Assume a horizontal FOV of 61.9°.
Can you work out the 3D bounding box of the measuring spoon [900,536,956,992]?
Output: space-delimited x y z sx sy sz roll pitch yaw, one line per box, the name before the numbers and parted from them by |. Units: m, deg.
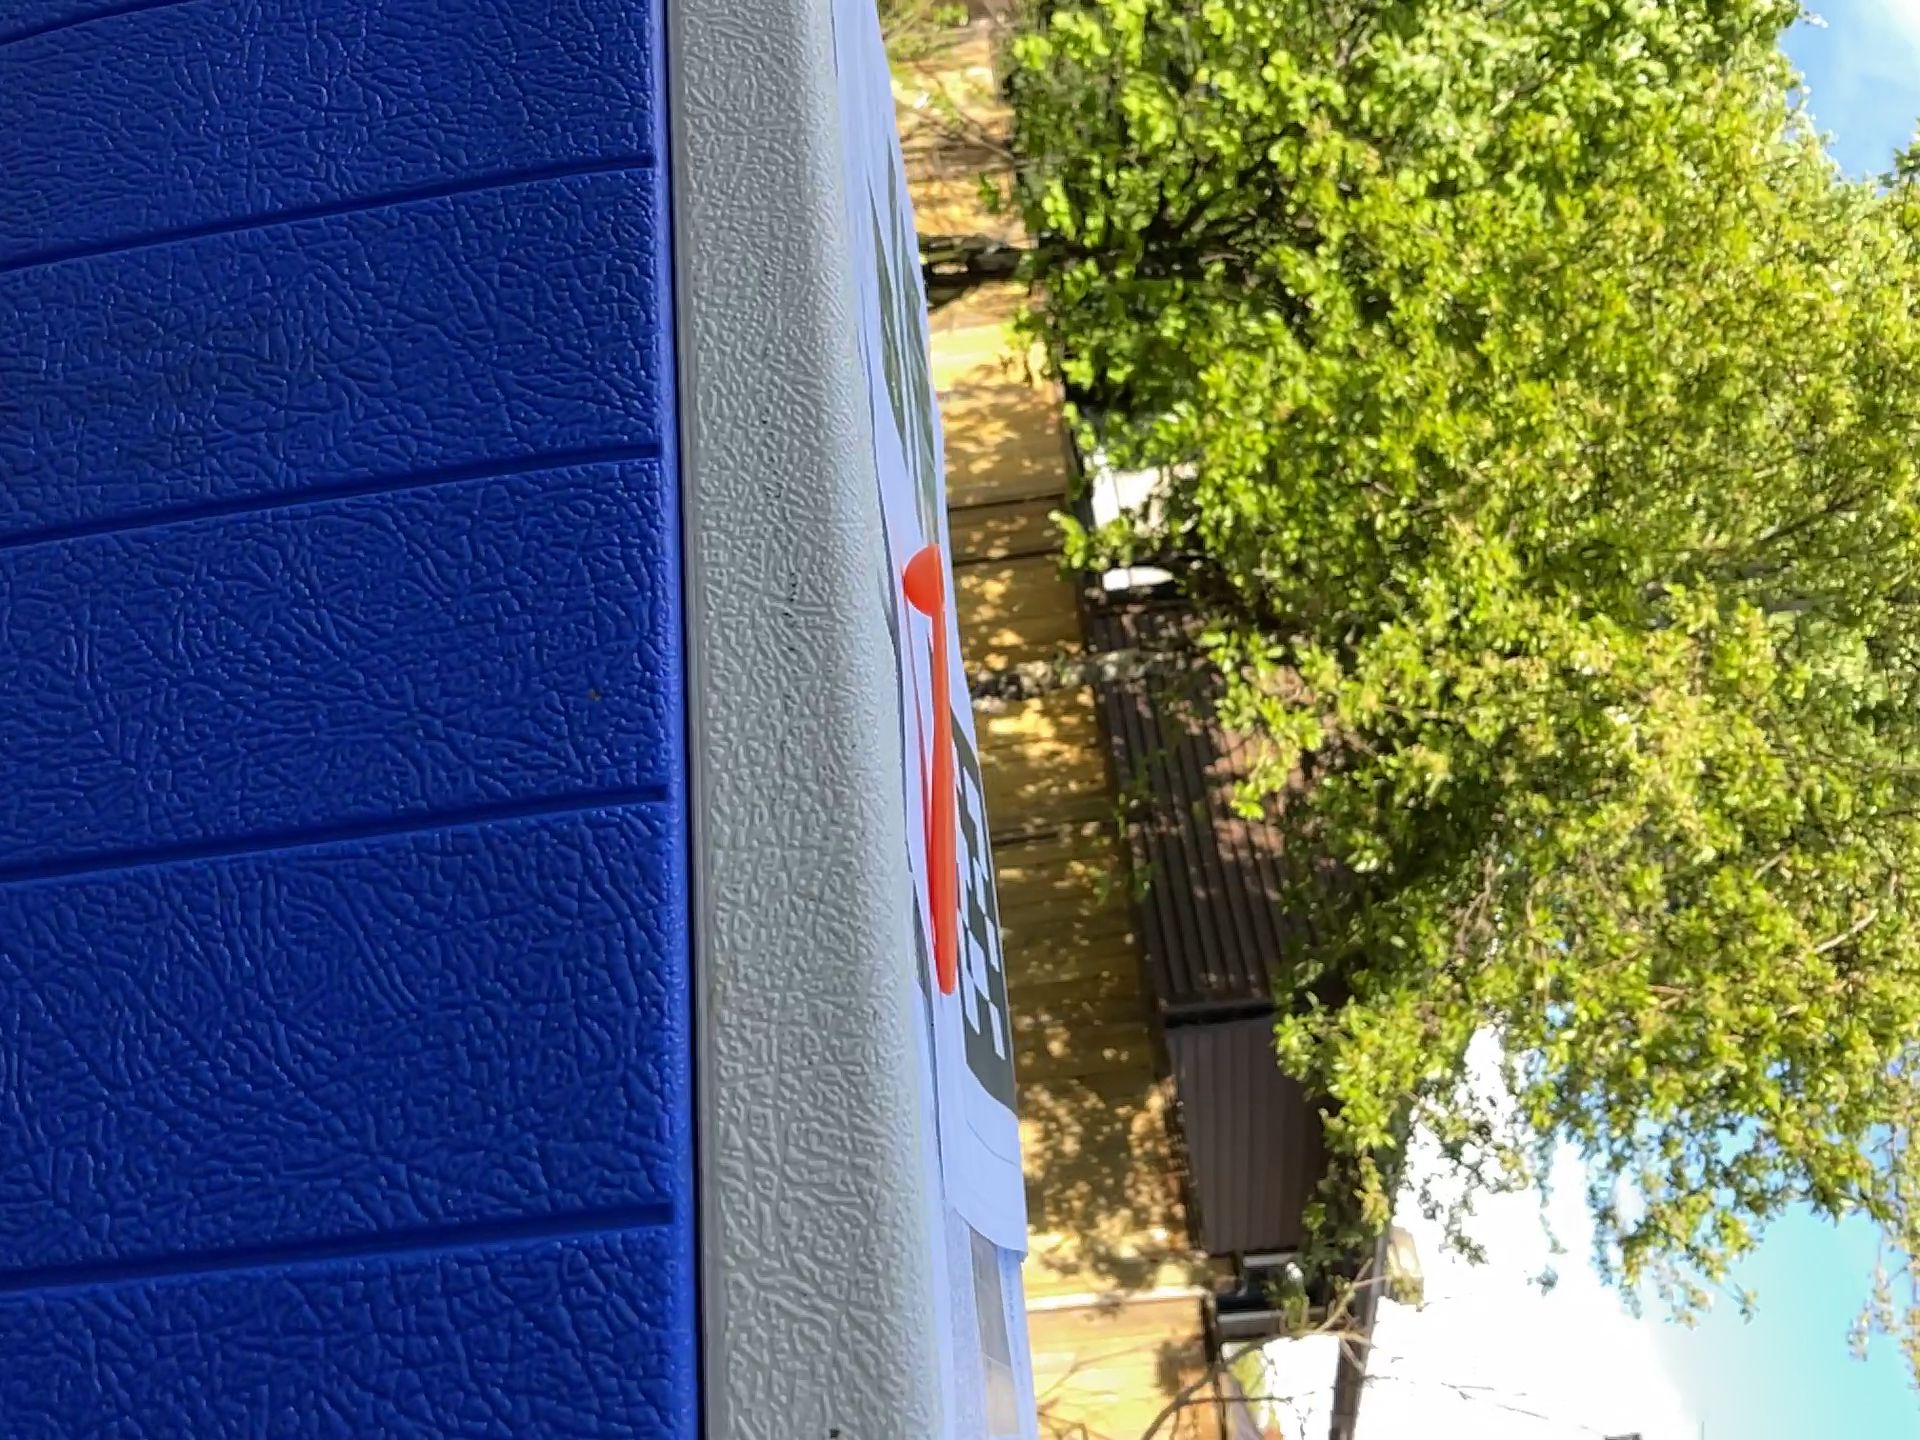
measuring spoon | -0.008 0.009 0.393 0.021 0.011 0.117 75 12 -69
